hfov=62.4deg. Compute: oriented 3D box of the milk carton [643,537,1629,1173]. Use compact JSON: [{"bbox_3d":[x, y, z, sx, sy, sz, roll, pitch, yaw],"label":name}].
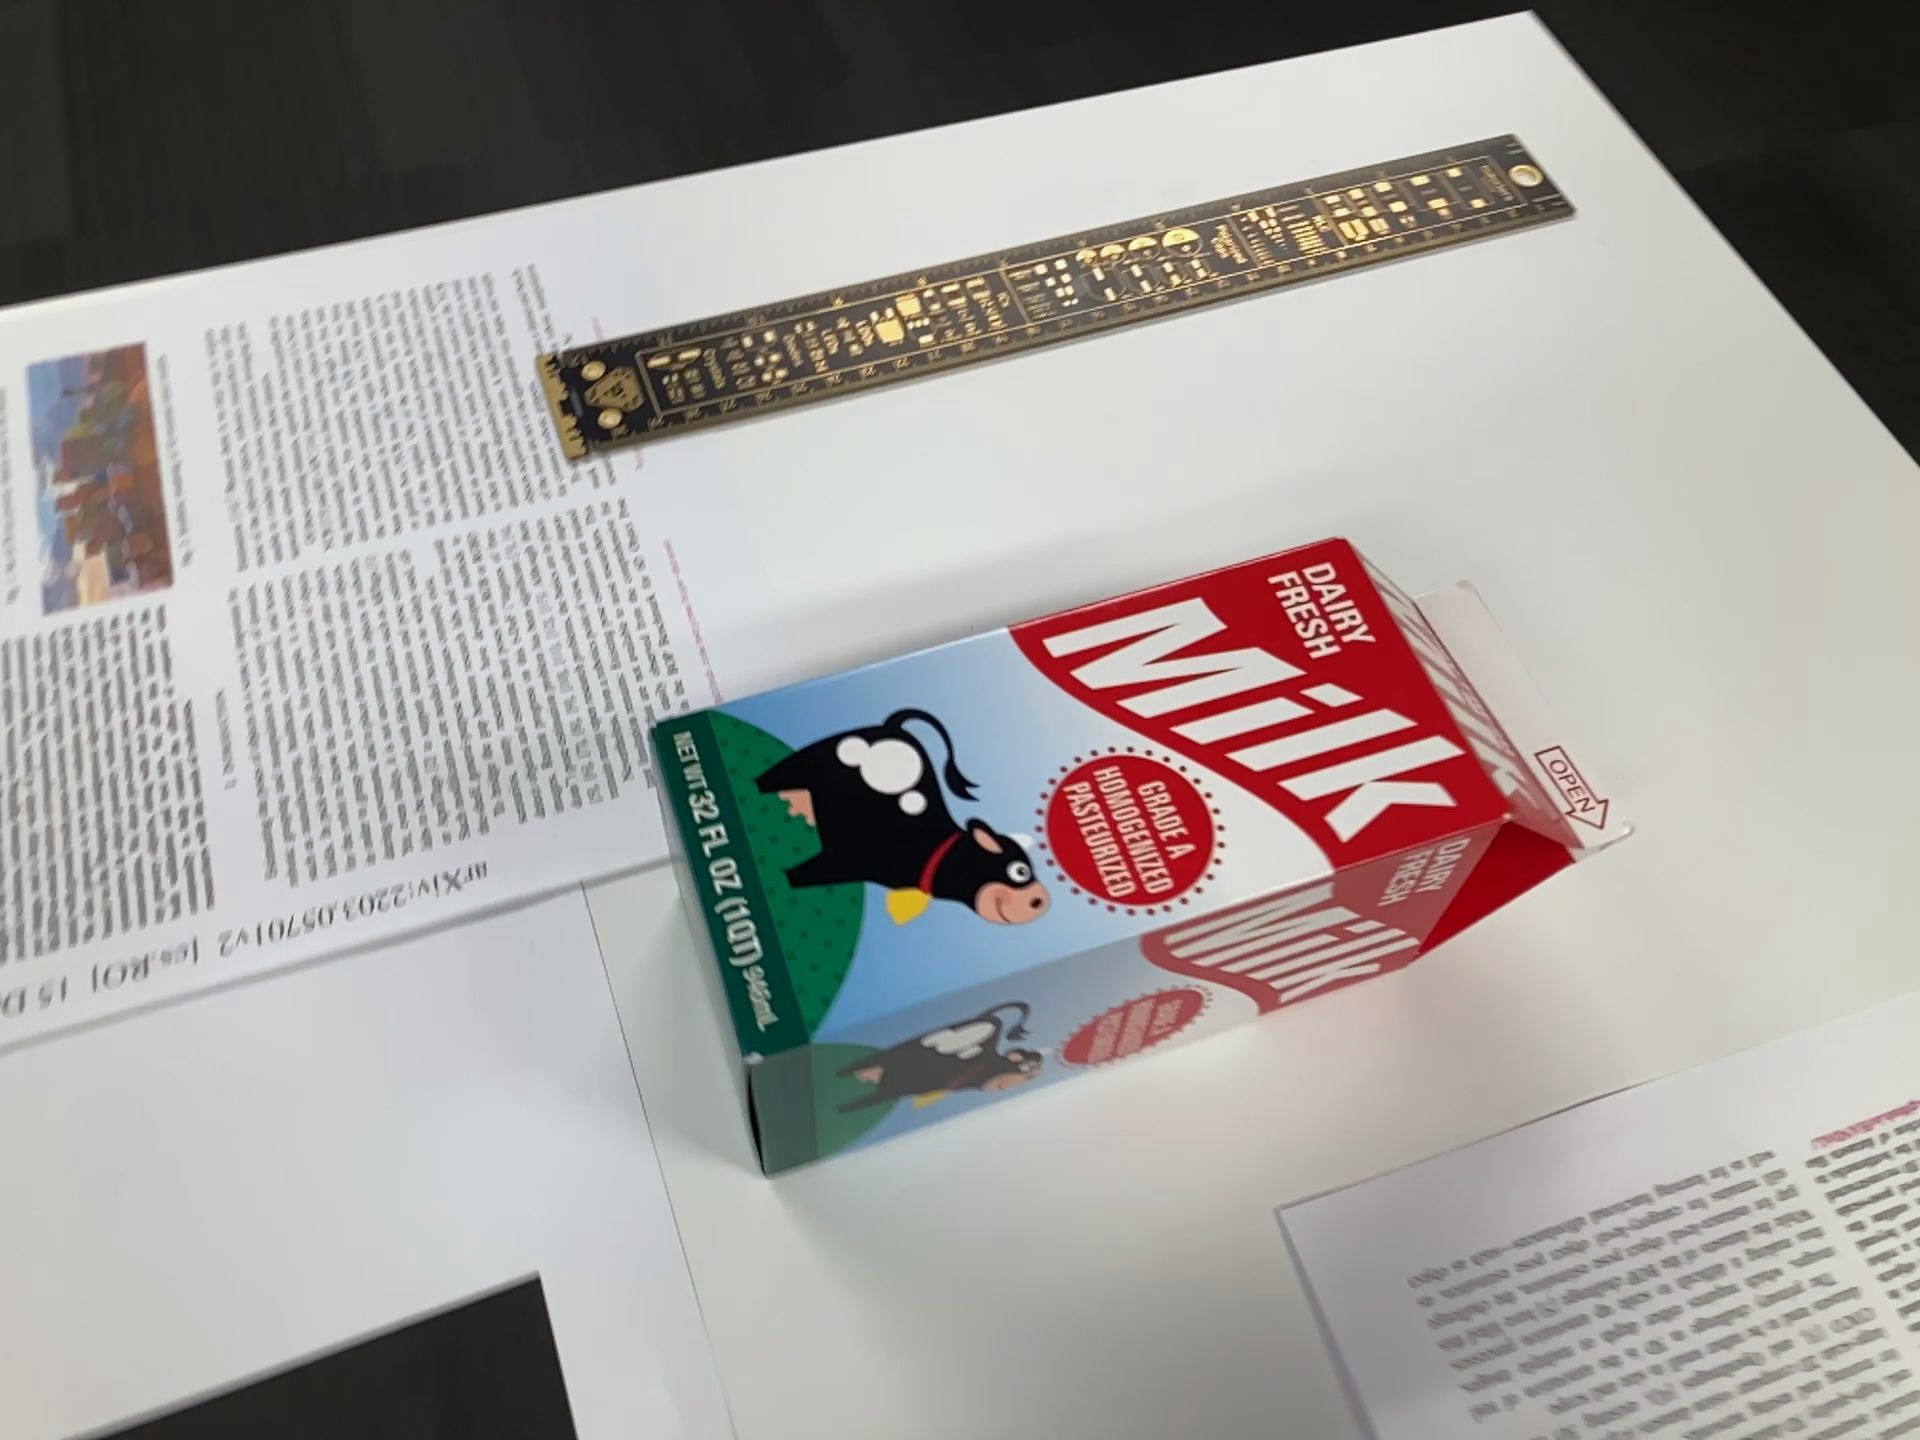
[{"bbox_3d":[0.039,0.022,0.329,0.190,0.073,0.072,-16,60,-13],"label":"milk carton"}]
